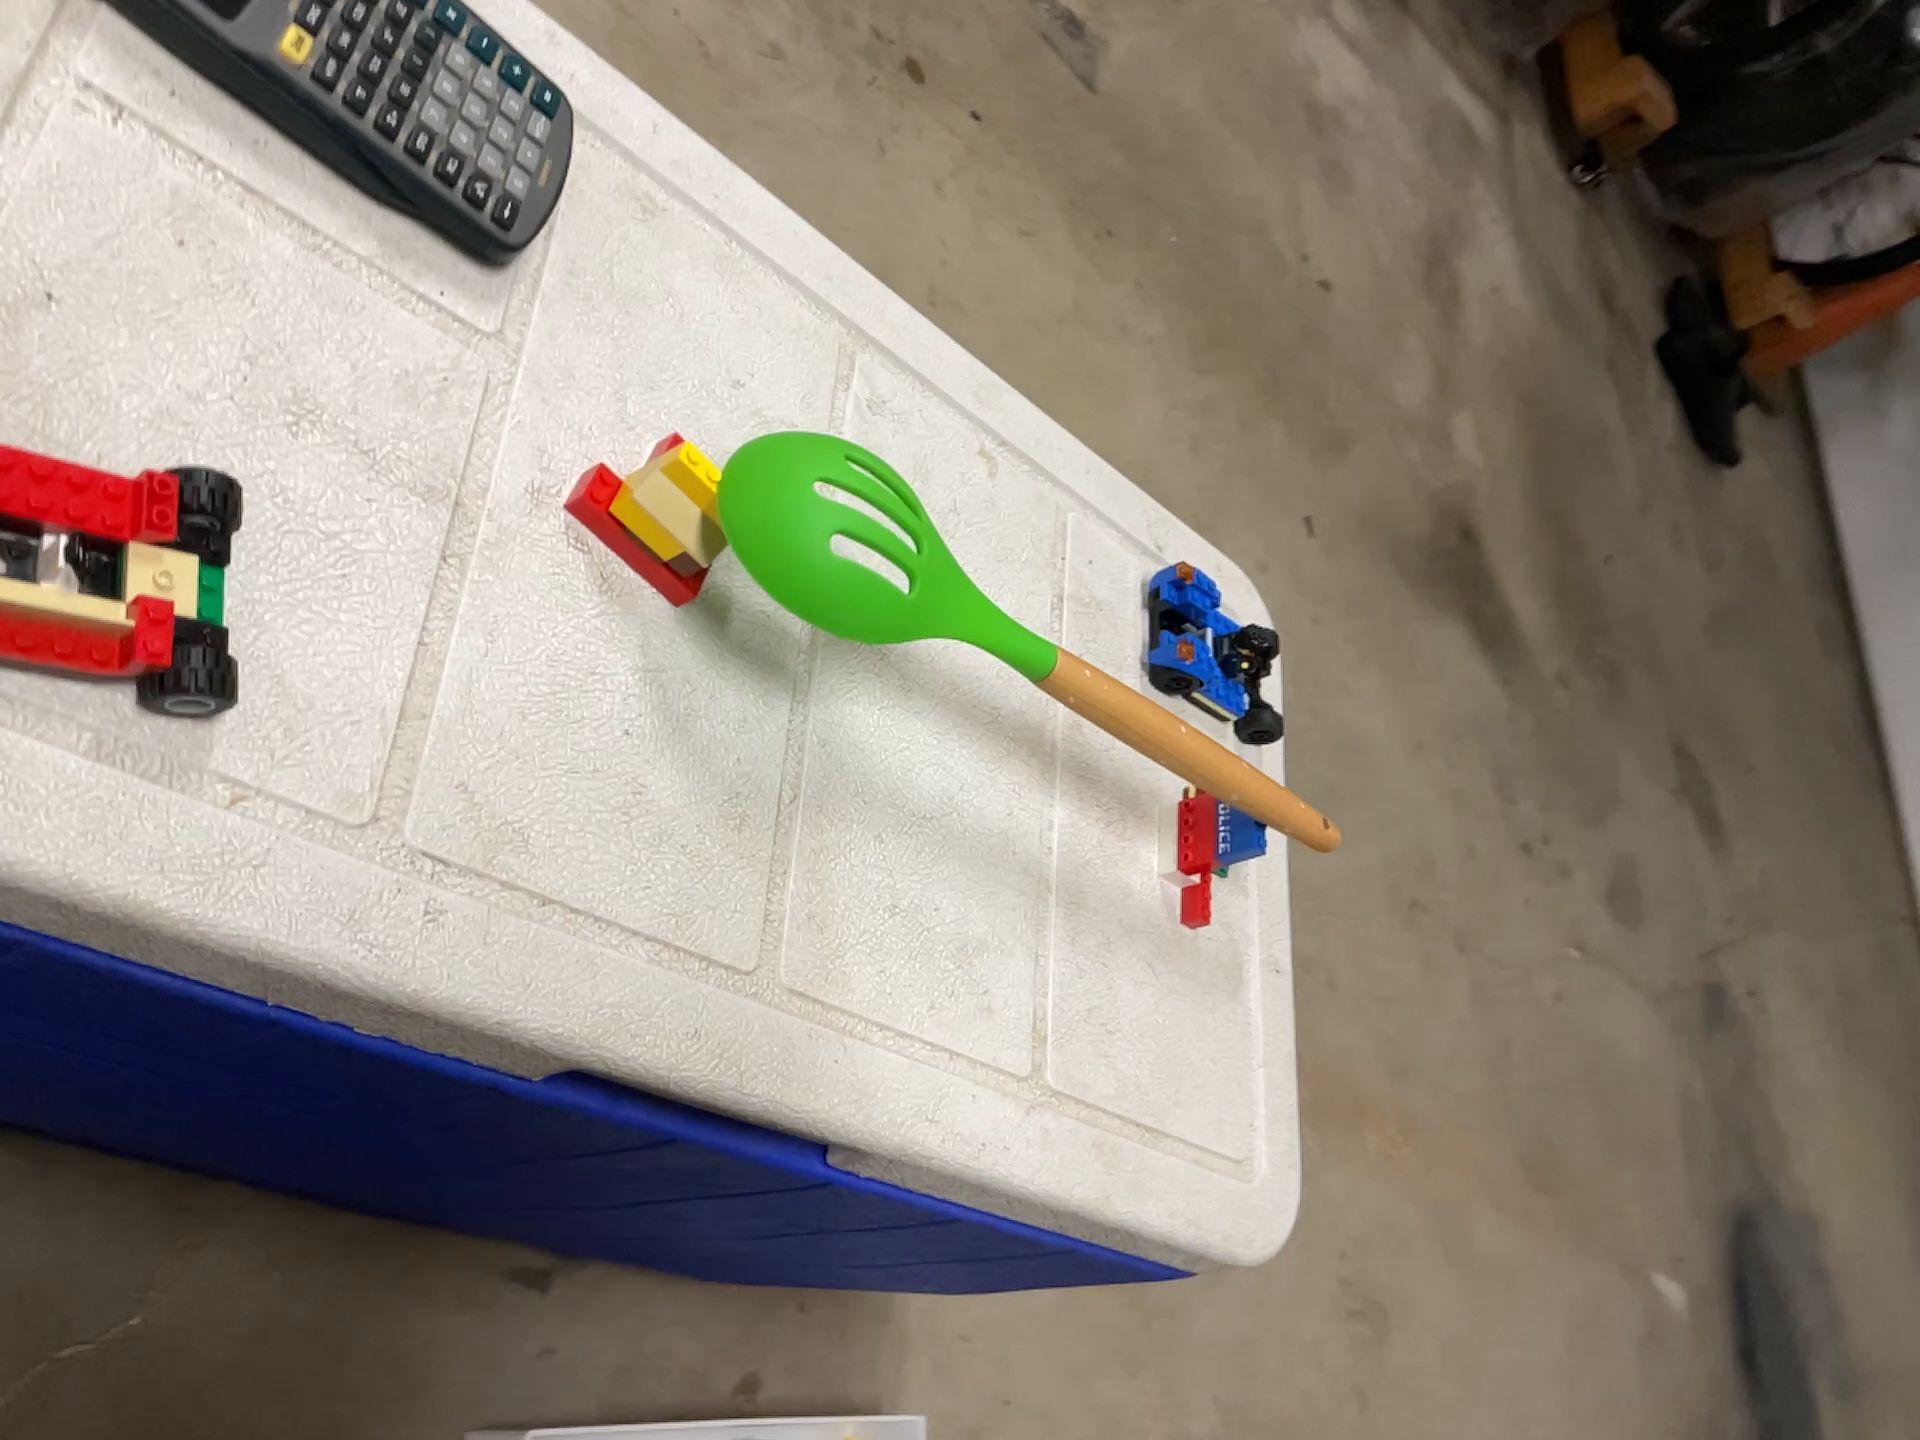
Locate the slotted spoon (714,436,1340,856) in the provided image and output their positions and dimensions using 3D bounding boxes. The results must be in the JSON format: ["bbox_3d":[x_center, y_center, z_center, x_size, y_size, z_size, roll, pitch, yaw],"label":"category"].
[{"bbox_3d":[0.045,-0.011,0.561,0.313,0.031,0.070,30,52,-38],"label":"slotted spoon"}]
